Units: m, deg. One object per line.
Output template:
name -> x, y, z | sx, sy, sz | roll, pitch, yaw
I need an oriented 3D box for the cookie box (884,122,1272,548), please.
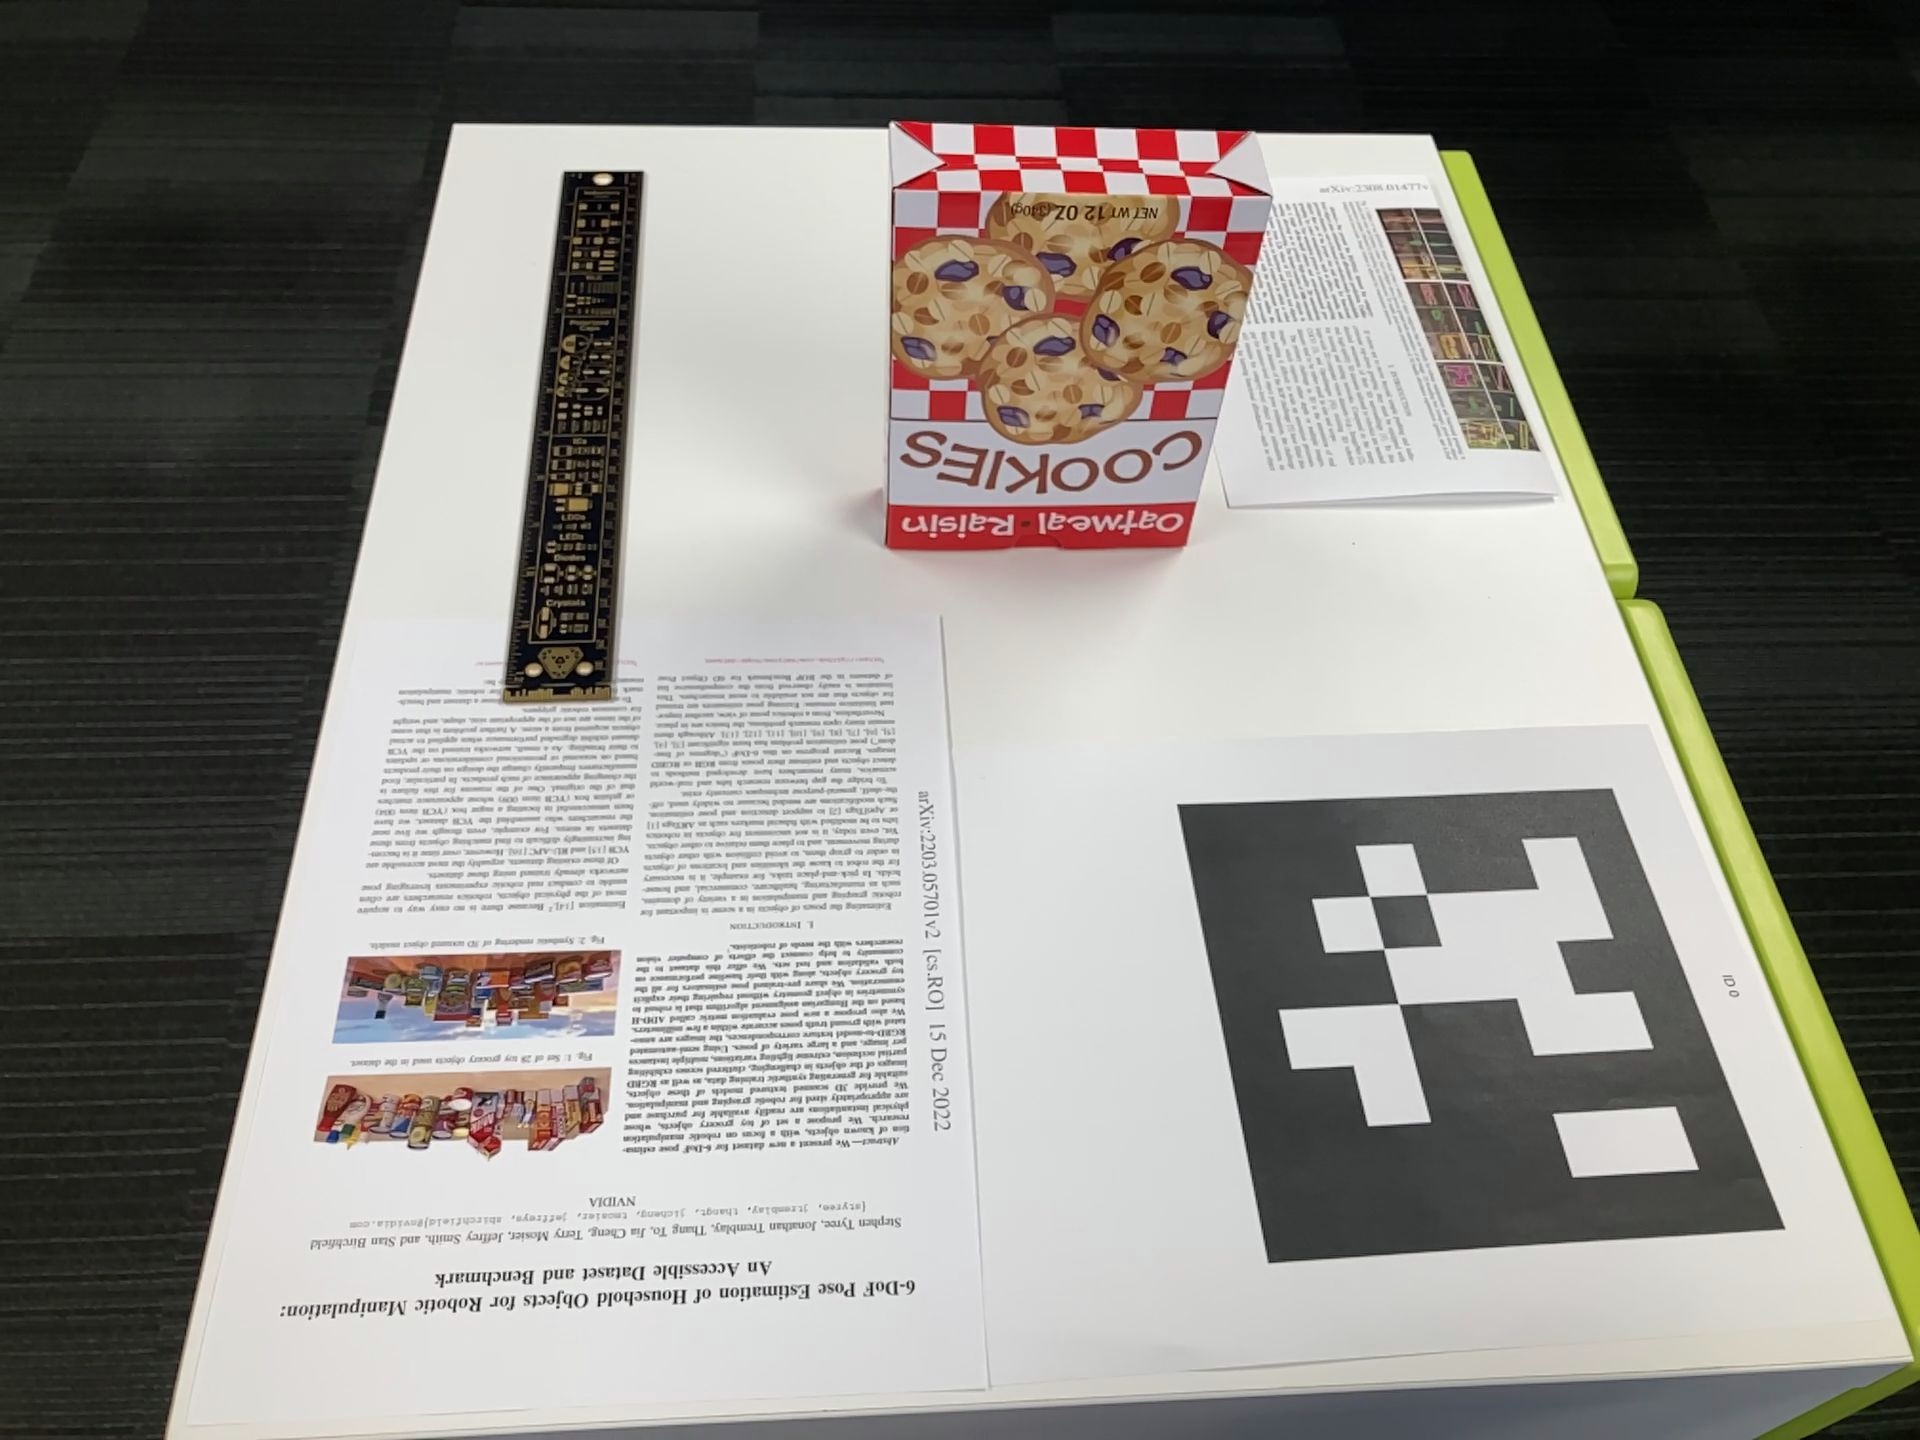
cookie box -> 0.035, -0.133, 0.585 | 0.123, 0.167, 0.040 | 0, 53, -4
